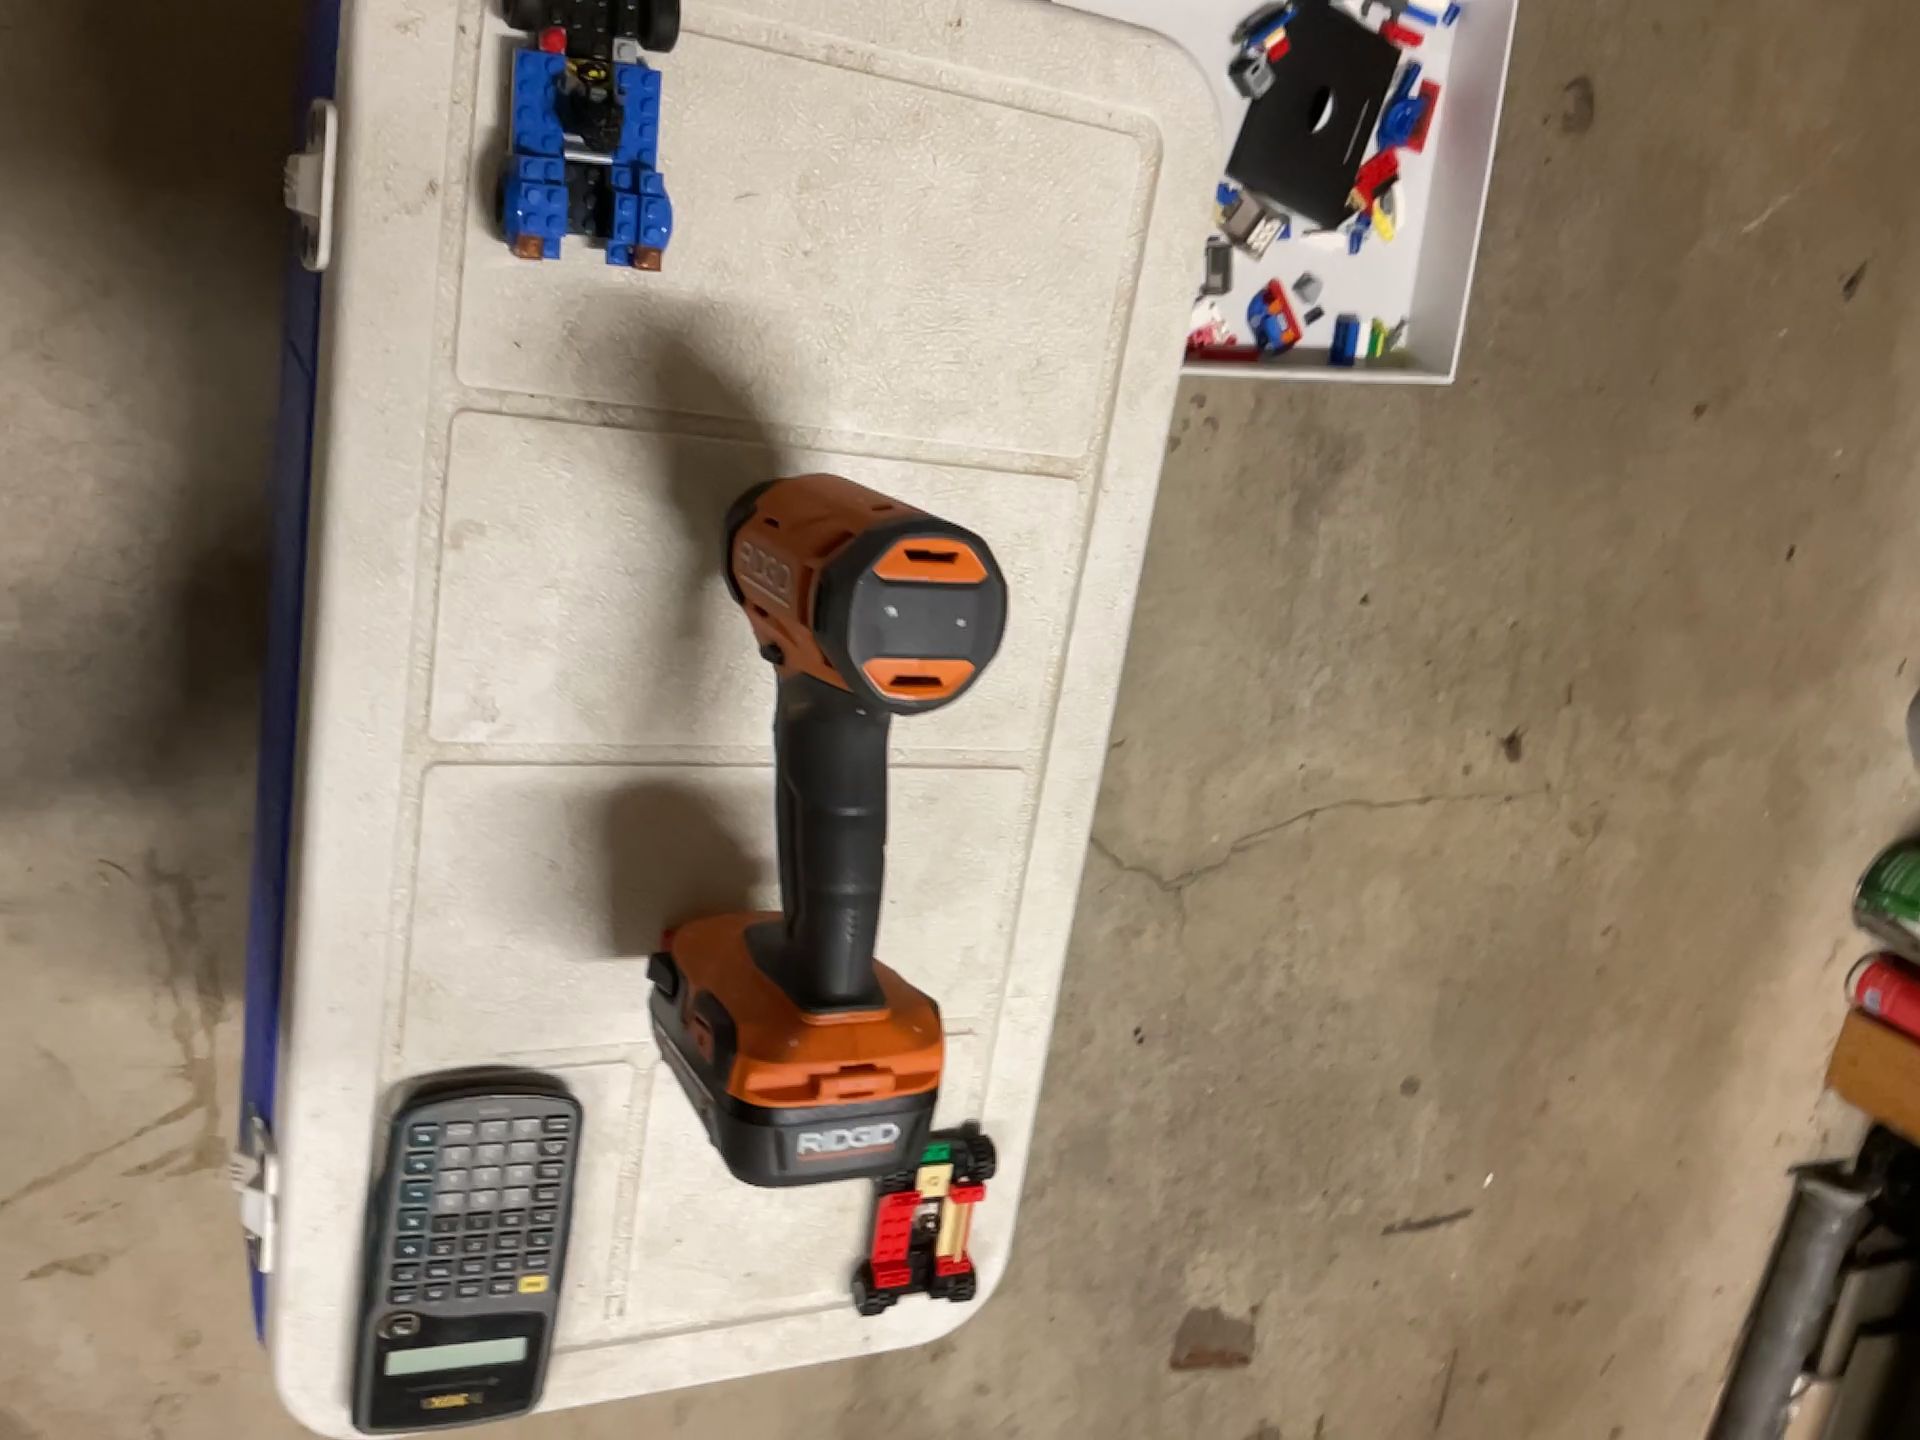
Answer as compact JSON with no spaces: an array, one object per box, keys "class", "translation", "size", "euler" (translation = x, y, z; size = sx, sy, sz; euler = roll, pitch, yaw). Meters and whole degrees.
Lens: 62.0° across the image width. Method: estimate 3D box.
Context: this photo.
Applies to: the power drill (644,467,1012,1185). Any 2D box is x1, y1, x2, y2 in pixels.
[{"class":"power drill","translation":[-0.055,0.025,0.563],"size":[0.084,0.164,0.226],"euler":[0,107,-27]}]
